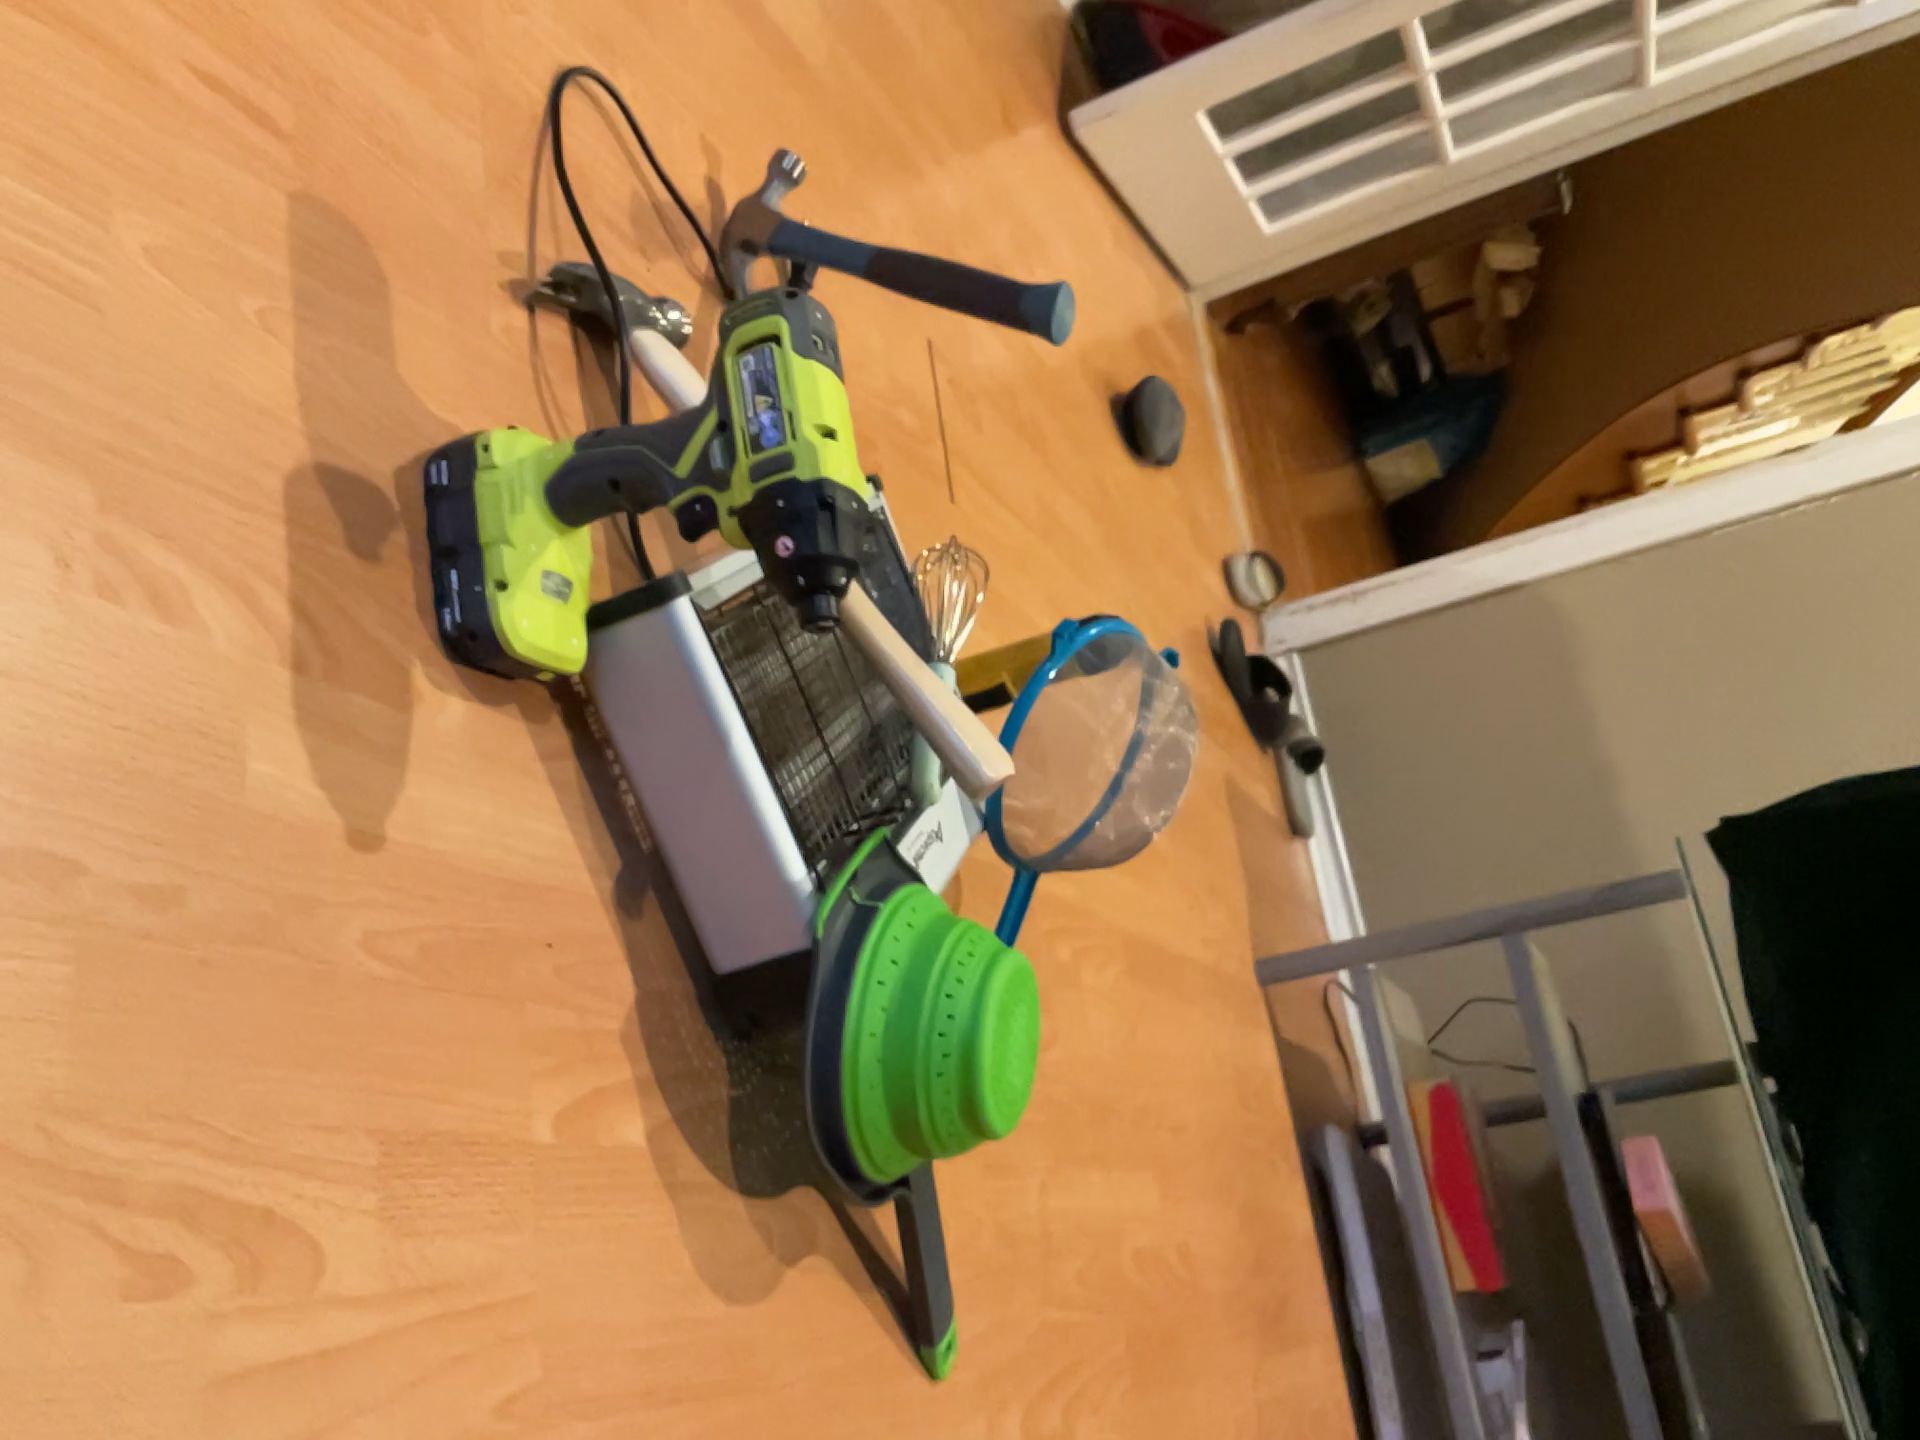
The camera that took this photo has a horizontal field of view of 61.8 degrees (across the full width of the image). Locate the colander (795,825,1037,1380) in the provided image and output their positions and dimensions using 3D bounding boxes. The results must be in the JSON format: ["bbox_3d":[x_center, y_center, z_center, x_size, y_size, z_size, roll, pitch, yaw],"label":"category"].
[{"bbox_3d":[-0.003,0.258,0.979,0.205,0.094,0.396,-55,142,-56],"label":"colander"}]

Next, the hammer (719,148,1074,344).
[{"bbox_3d":[-0.051,-0.331,1.166,0.128,0.331,0.033,-59,146,-7],"label":"hammer"}]

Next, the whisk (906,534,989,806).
[{"bbox_3d":[-0.015,-0.040,1.143,0.057,0.059,0.246,95,0,-51],"label":"whisk"}]

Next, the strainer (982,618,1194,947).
[{"bbox_3d":[0.096,0.095,1.233,0.211,0.095,0.340,9,102,-56],"label":"strainer"}]

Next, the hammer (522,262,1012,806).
[{"bbox_3d":[-0.110,-0.116,0.980,0.410,0.038,0.146,52,17,11],"label":"hammer"}]

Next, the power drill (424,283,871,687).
[{"bbox_3d":[-0.154,-0.103,0.808,0.080,0.223,0.171,25,52,-63],"label":"power drill"}]
